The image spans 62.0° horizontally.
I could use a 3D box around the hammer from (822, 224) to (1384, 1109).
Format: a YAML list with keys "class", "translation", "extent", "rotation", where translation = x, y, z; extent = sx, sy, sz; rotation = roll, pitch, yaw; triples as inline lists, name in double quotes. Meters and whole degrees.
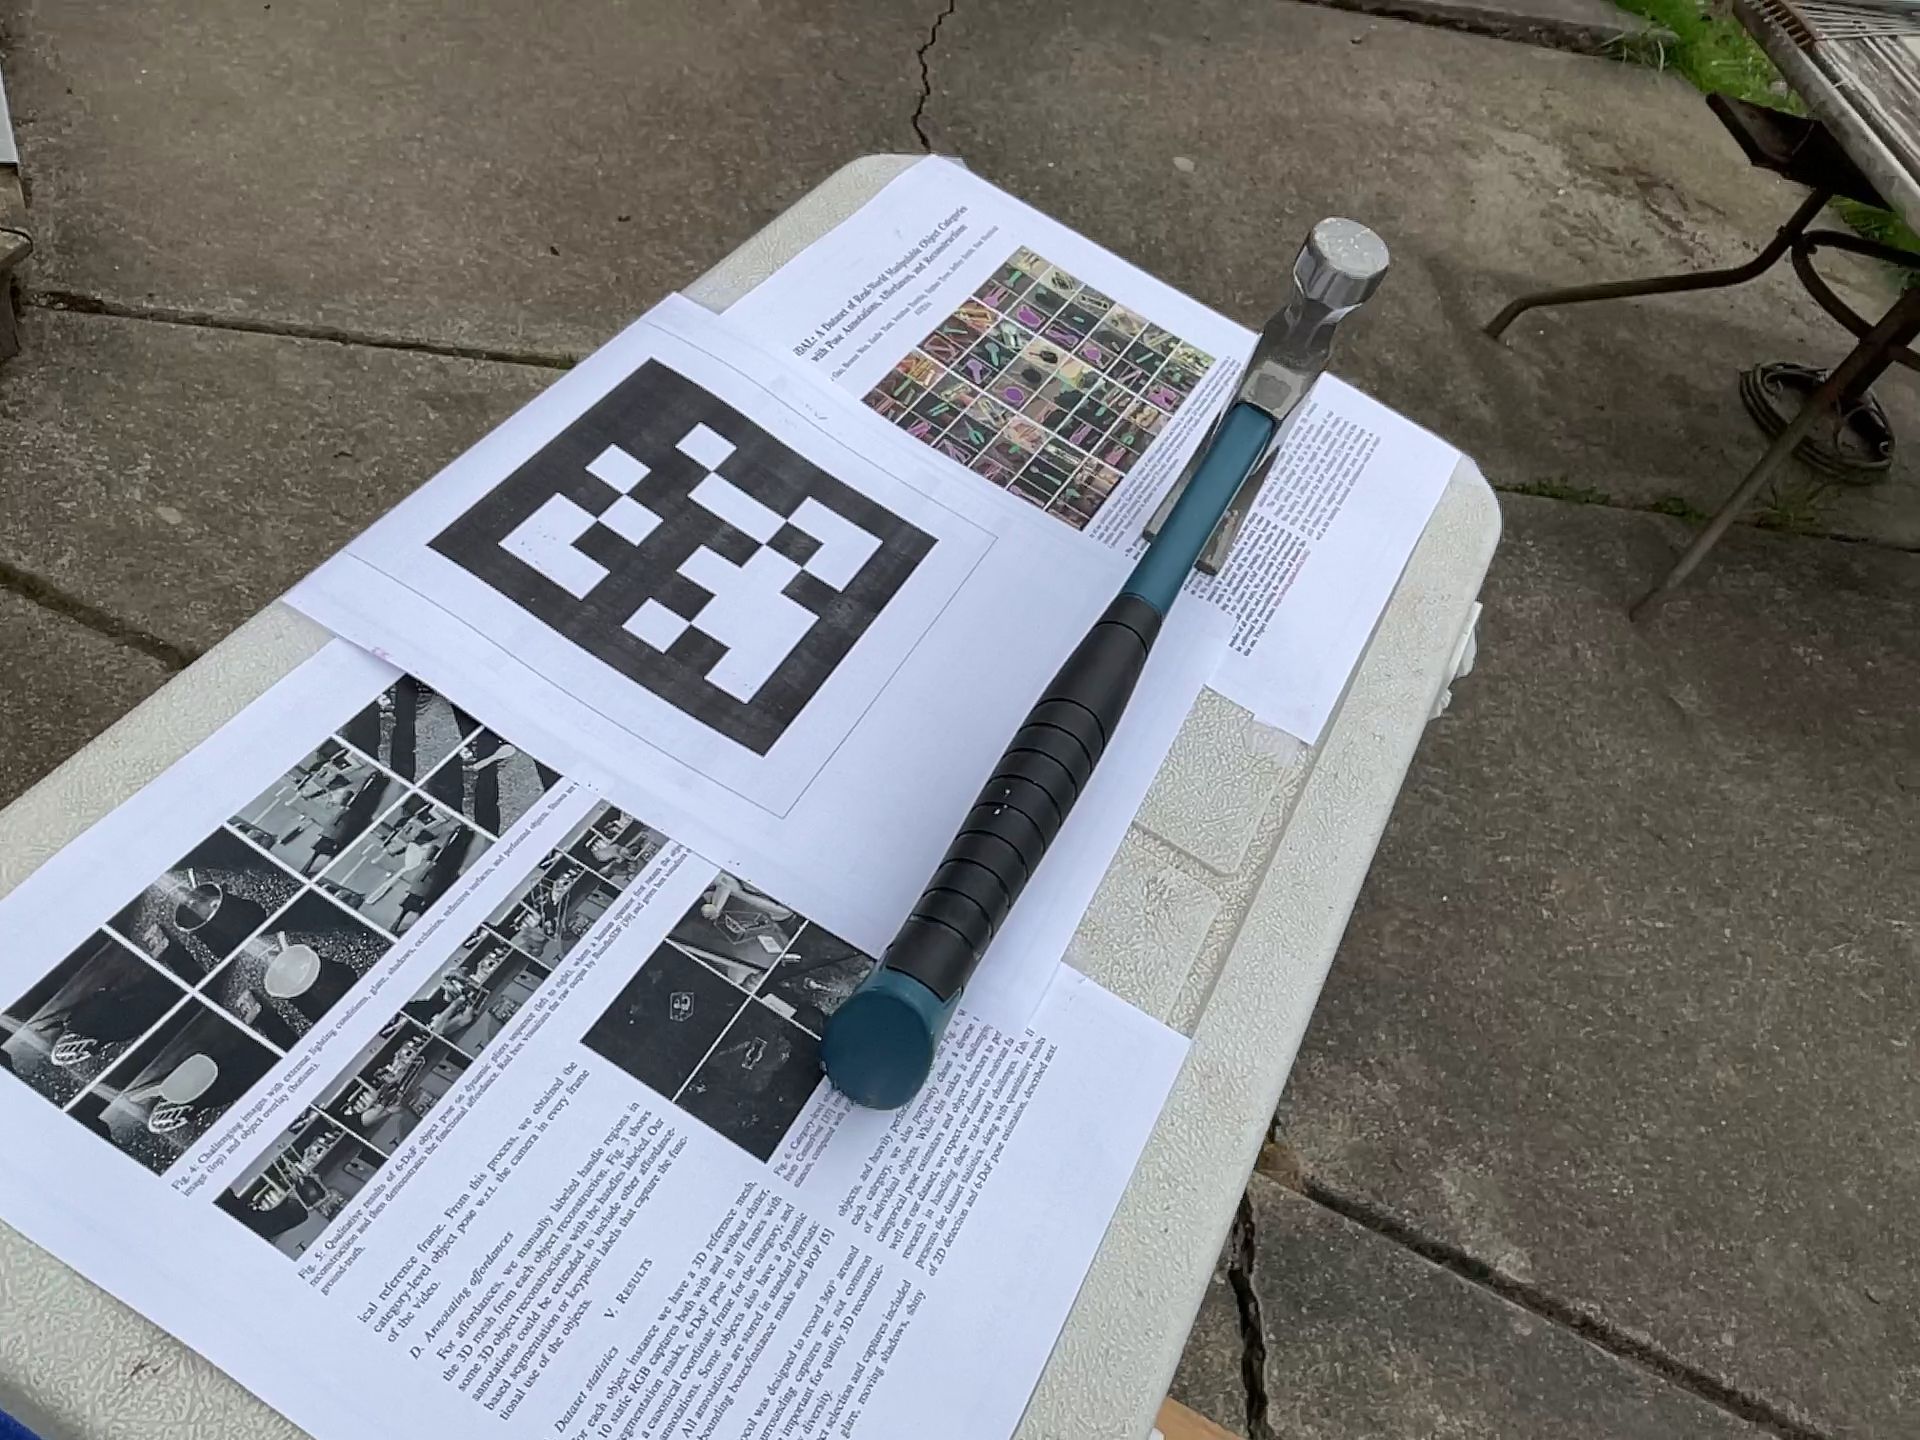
- class: "hammer"
  translation: [0.050, -0.022, 0.513]
  extent: [0.033, 0.128, 0.331]
  rotation: [29, 56, 6]
